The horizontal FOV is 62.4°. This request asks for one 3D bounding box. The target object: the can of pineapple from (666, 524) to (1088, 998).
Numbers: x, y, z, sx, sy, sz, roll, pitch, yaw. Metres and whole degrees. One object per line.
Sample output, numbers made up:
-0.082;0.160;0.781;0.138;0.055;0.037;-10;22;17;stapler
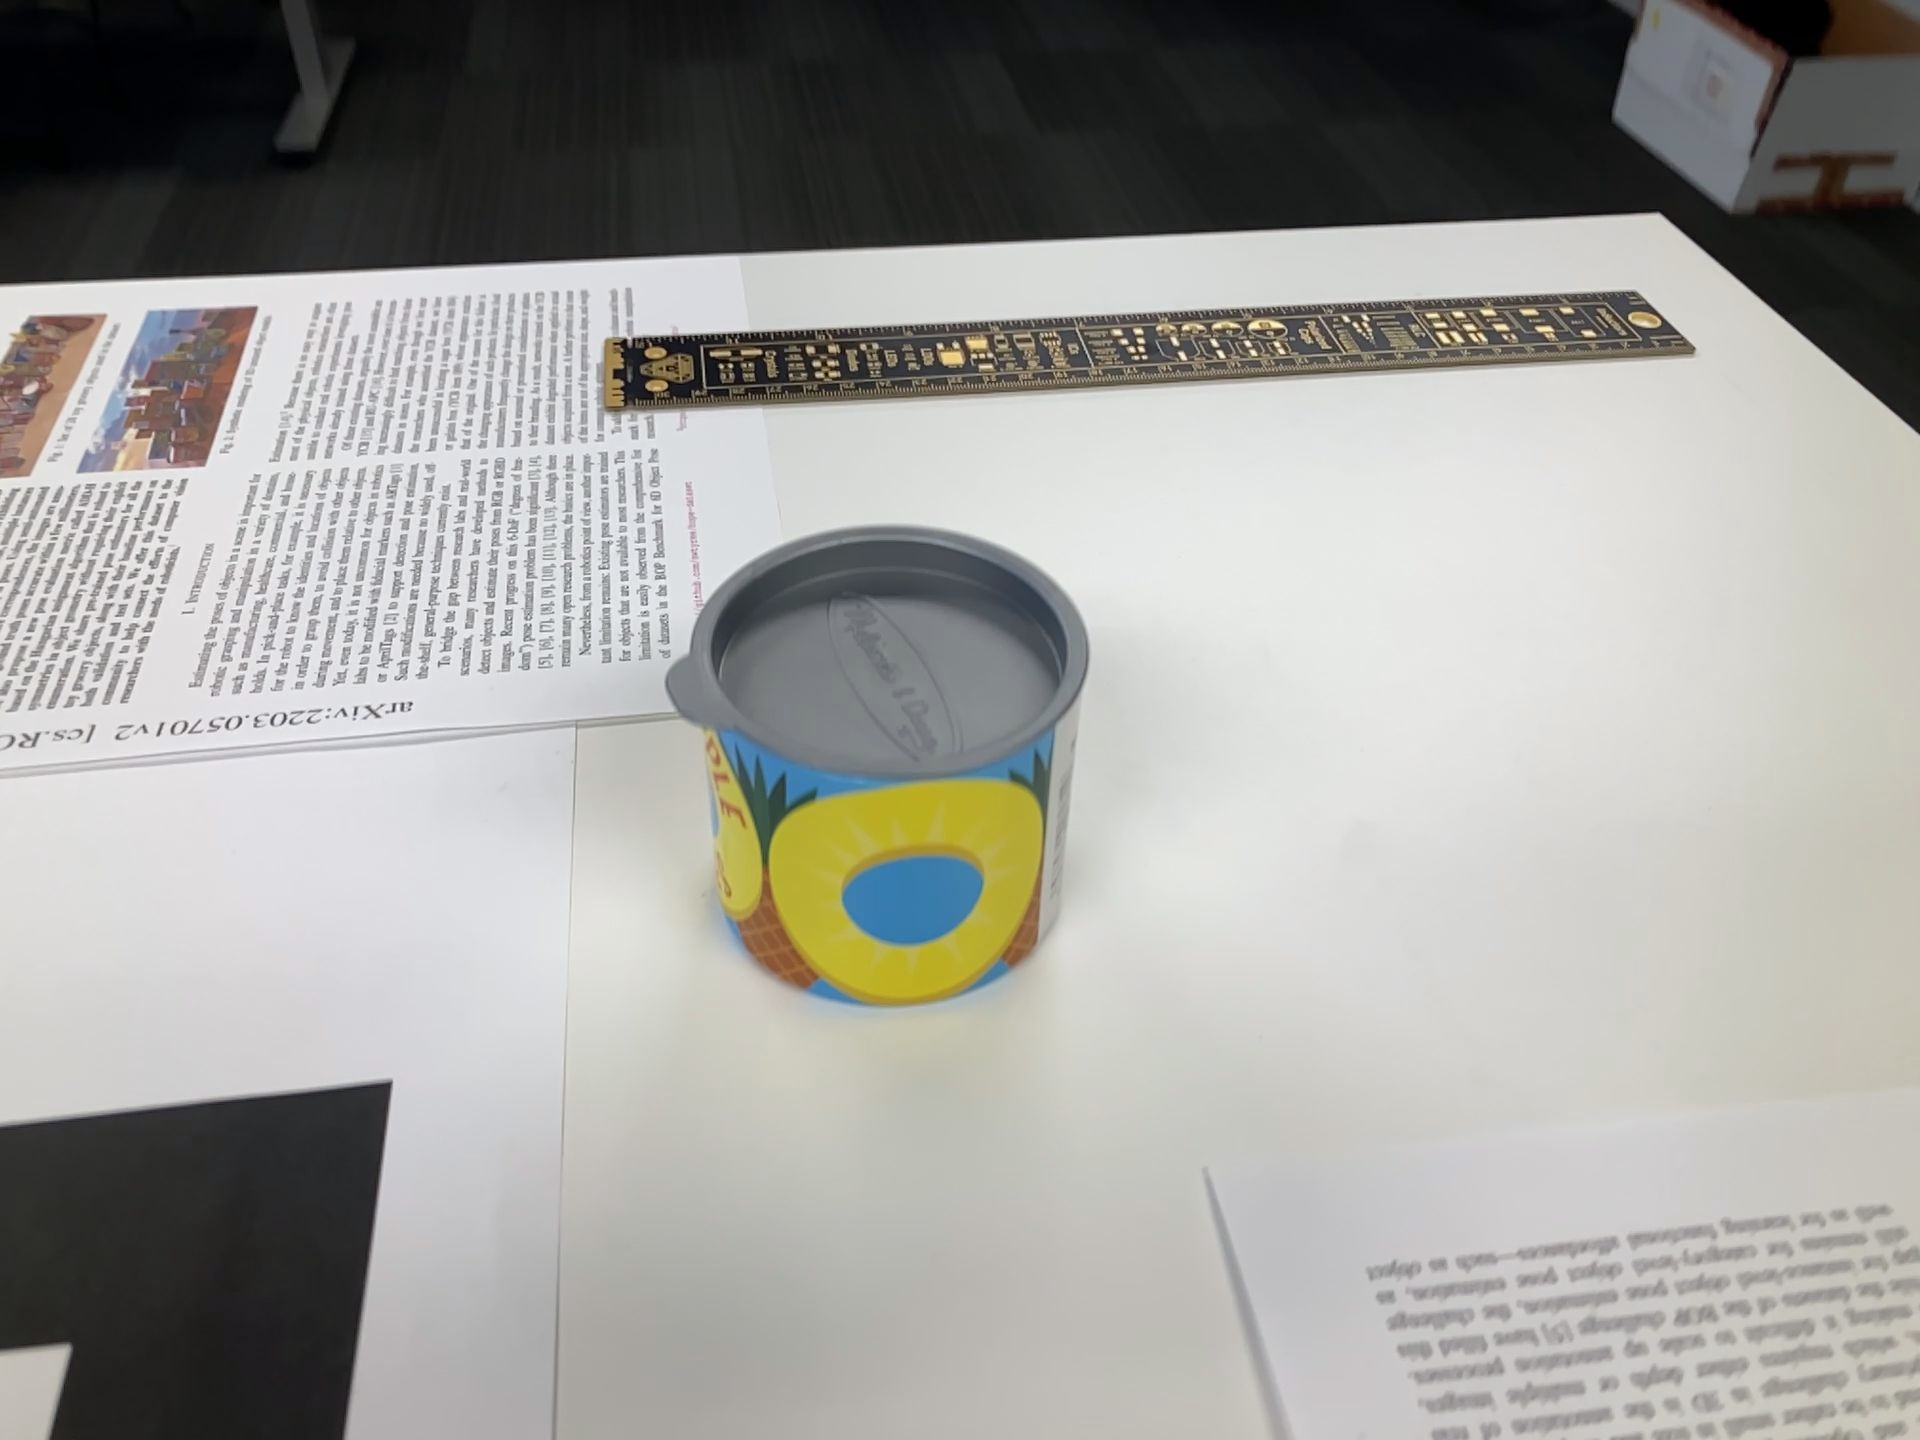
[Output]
-0.014;0.007;0.283;0.071;0.058;0.071;1;40;-1;can of pineapple
